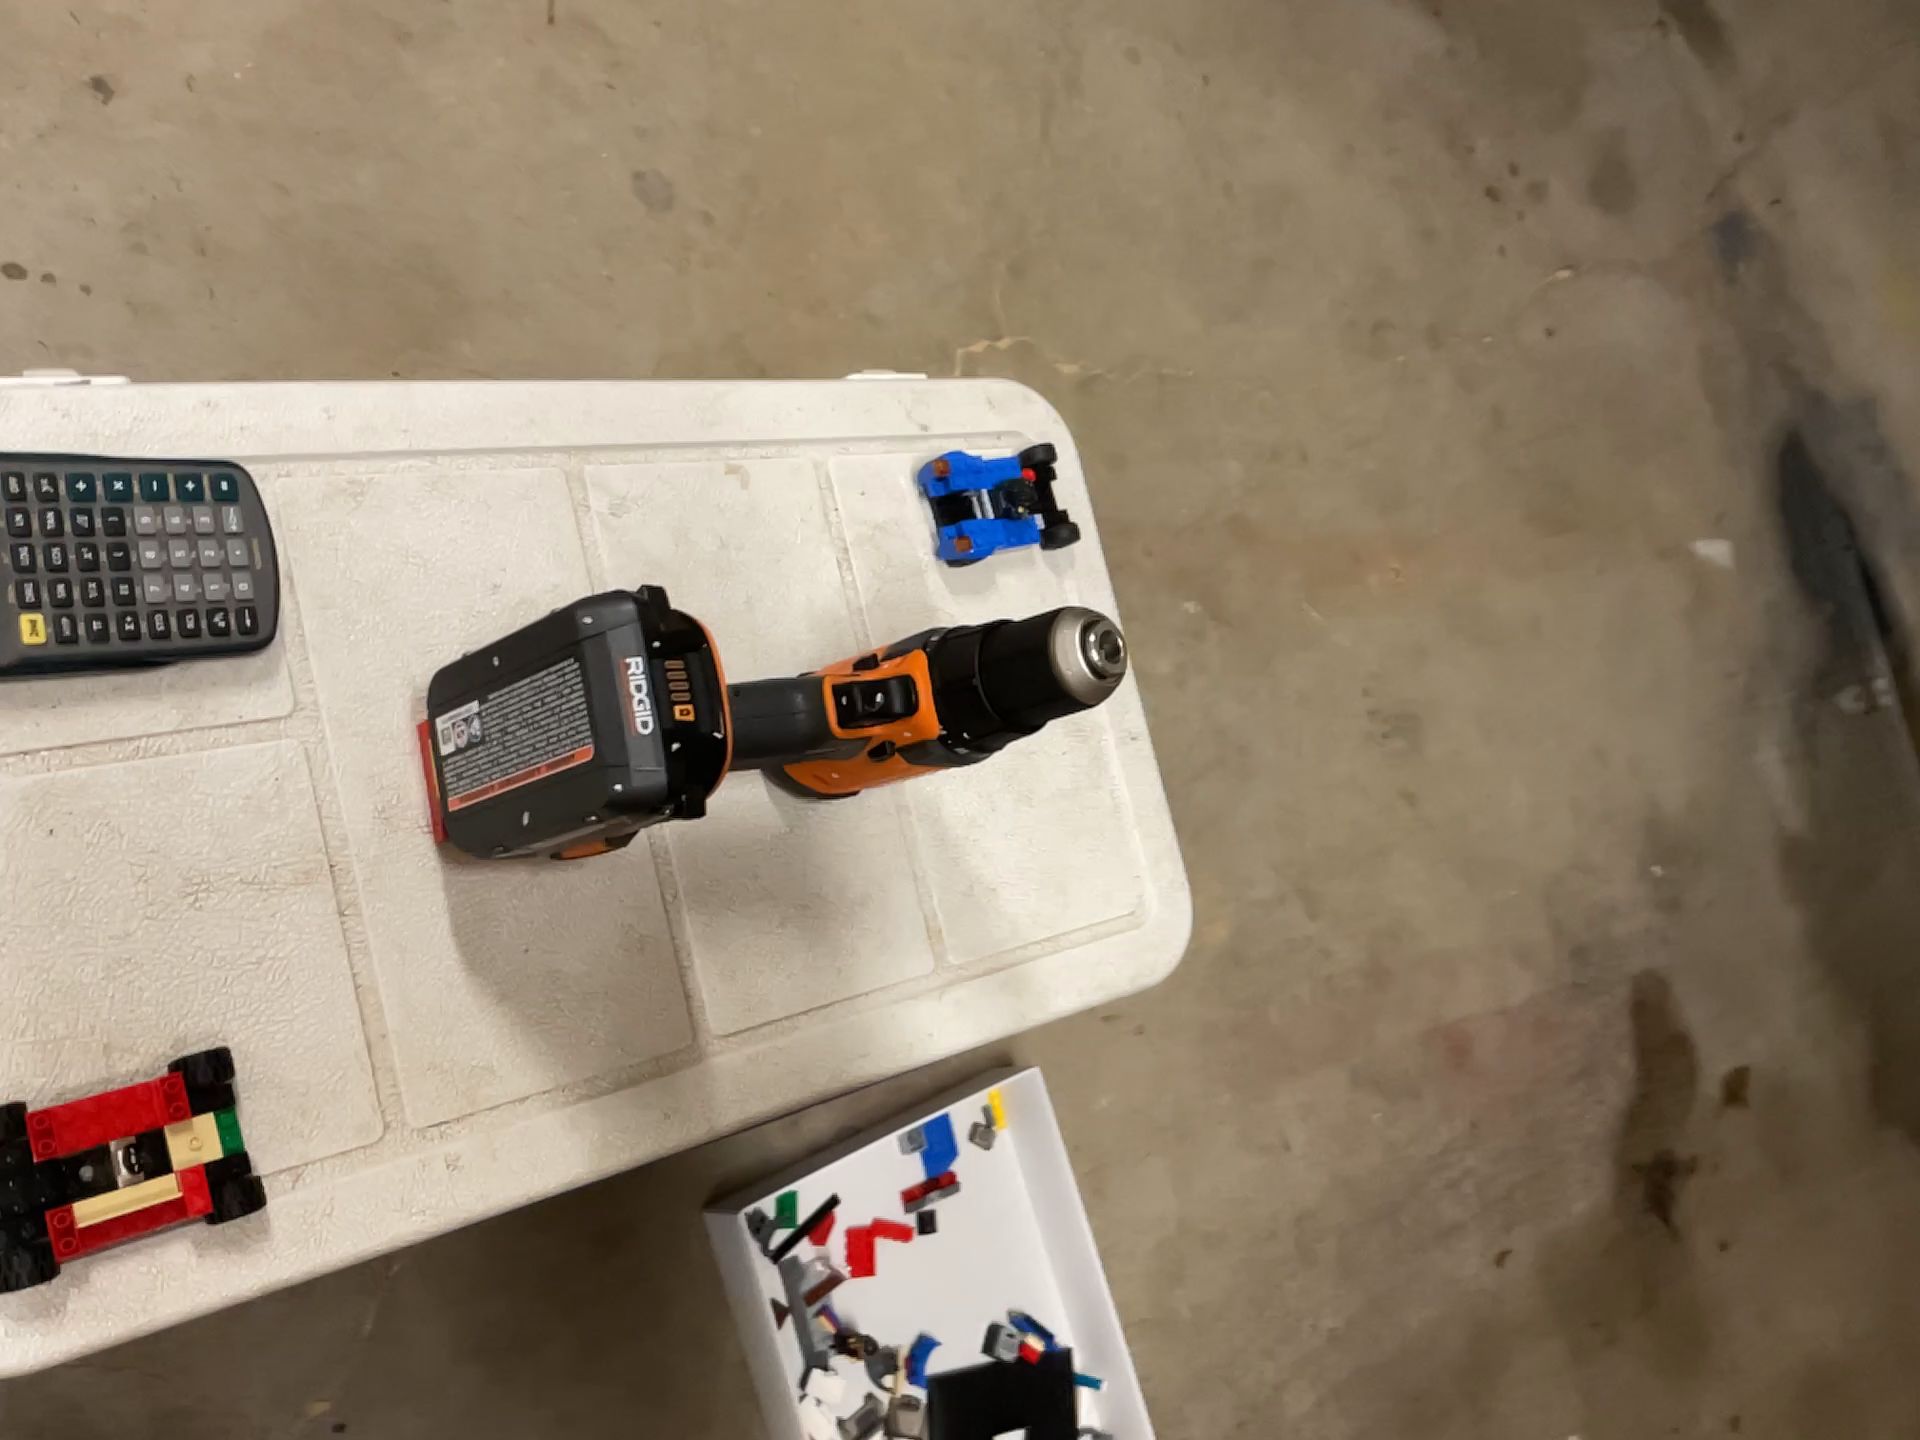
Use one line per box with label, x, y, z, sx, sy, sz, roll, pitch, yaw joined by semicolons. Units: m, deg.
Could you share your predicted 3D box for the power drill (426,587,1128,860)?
power drill;-0.062;-0.005;0.616;0.226;0.185;0.084;-4;81;-47
